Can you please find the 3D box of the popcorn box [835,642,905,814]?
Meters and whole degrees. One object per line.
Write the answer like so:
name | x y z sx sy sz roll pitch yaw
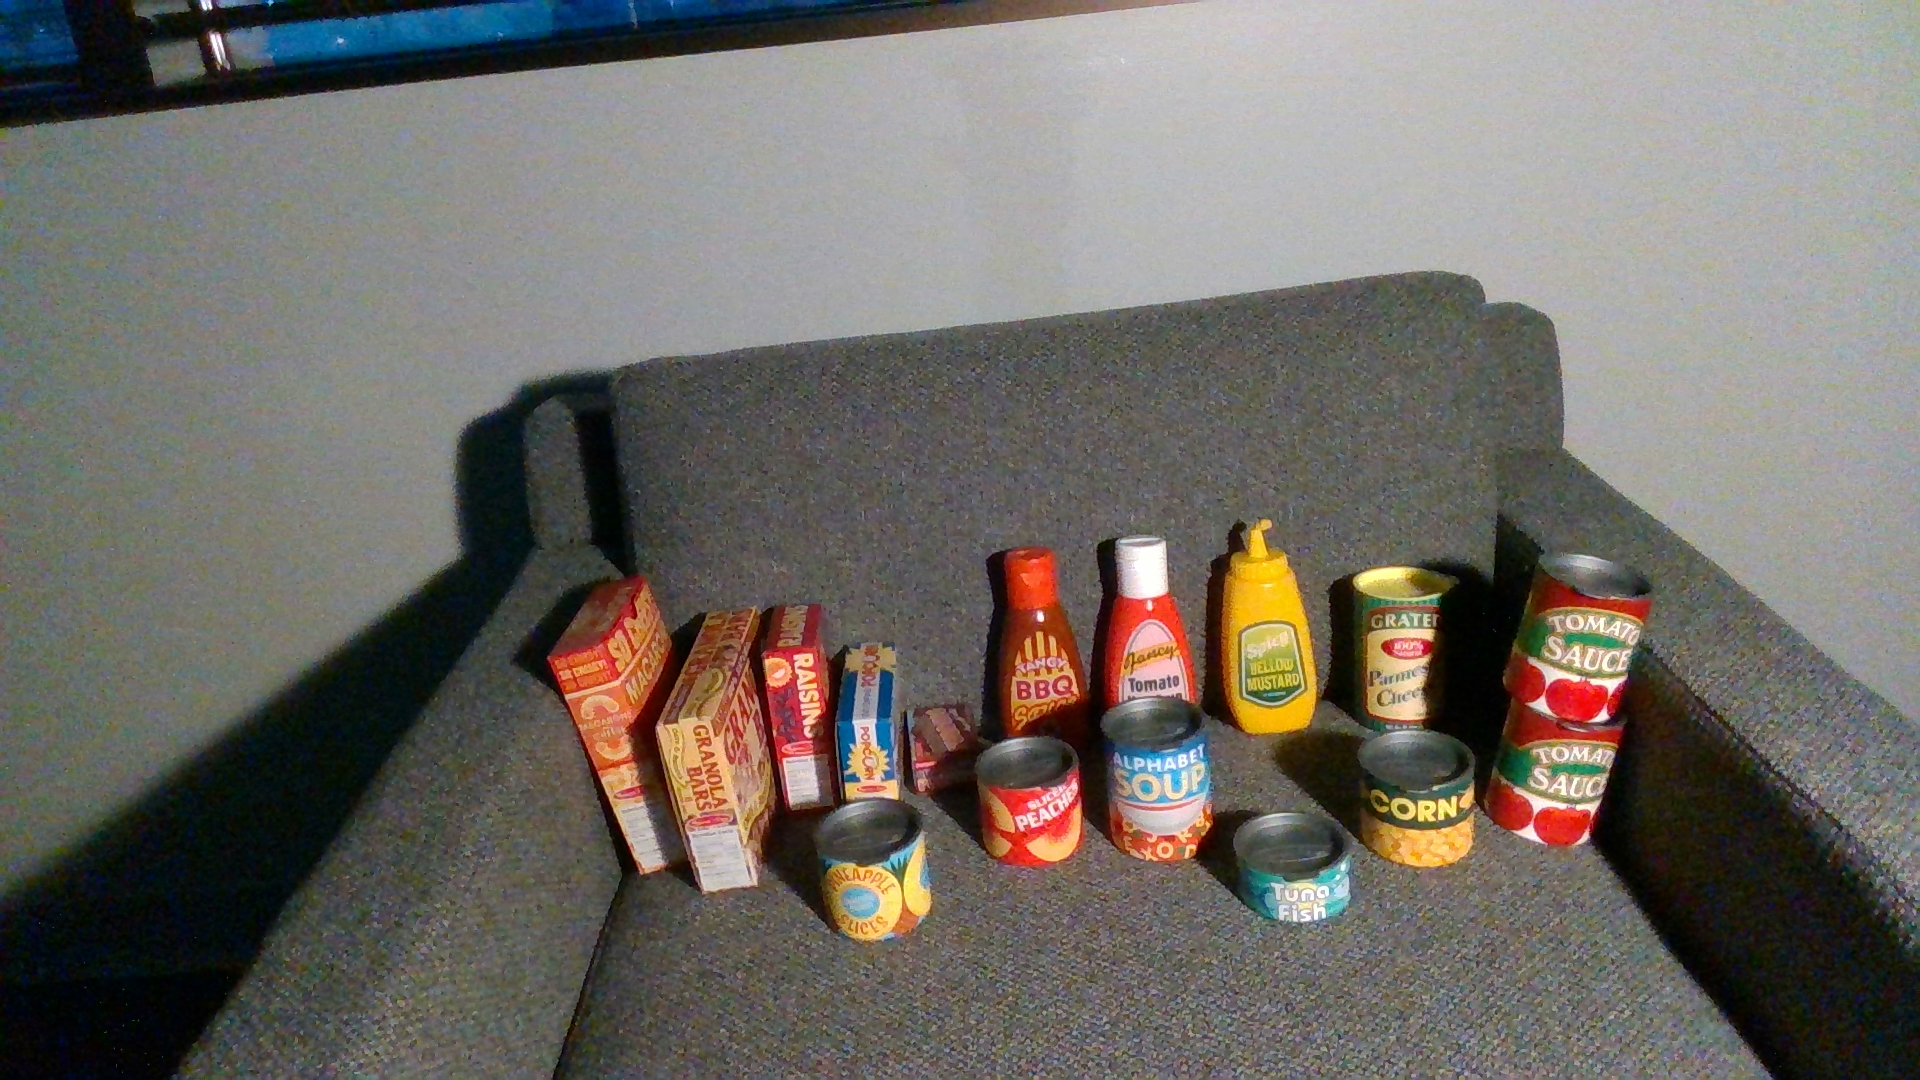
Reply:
popcorn box | -0.060 0.133 0.953 0.038 0.085 0.127 -5 19 1

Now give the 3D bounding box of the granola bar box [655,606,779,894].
granola bar box | -0.154 0.135 0.927 0.039 0.123 0.166 -9 21 5

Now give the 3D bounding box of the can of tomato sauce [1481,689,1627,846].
can of tomato sauce | 0.362 0.135 0.848 0.071 0.082 0.071 6 20 -2

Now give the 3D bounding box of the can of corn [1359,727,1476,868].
can of corn | 0.274 0.156 0.835 0.071 0.058 0.071 -6 23 2

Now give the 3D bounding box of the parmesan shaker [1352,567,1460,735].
parmesan shaker | 0.313 0.078 0.972 0.071 0.102 0.071 -5 17 2

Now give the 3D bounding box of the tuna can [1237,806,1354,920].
tuna can | 0.195 0.188 0.804 0.071 0.032 0.071 -7 25 3

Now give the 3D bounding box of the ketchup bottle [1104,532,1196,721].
ketchup bottle | 0.132 0.069 0.982 0.065 0.148 0.043 -6 15 -3

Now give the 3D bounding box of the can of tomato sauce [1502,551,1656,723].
can of tomato sauce | 0.364 0.058 0.821 0.071 0.082 0.071 6 22 -2

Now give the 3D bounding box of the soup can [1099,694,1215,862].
soup can | 0.124 0.149 0.863 0.071 0.083 0.071 -7 19 2

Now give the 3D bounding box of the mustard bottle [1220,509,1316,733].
mustard bottle | 0.213 0.056 0.979 0.065 0.159 0.049 -9 15 5

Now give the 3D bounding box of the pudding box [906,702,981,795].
pudding box | -0.011 0.147 0.982 0.050 0.030 0.084 -8 17 -2

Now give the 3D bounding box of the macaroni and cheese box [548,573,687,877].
macaroni and cheese box | -0.214 0.121 0.942 0.040 0.166 0.124 -15 19 6

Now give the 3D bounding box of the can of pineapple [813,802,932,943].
can of pineapple | -0.052 0.198 0.827 0.071 0.057 0.071 -6 18 2

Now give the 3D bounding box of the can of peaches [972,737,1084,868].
can of peaches | 0.045 0.166 0.877 0.071 0.057 0.071 -6 20 2

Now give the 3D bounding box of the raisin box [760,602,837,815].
raisin box | -0.109 0.115 0.966 0.040 0.123 0.086 -6 16 0

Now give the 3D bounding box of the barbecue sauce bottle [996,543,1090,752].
barbecue sauce bottle | 0.055 0.078 0.982 0.065 0.148 0.044 -7 15 -4
